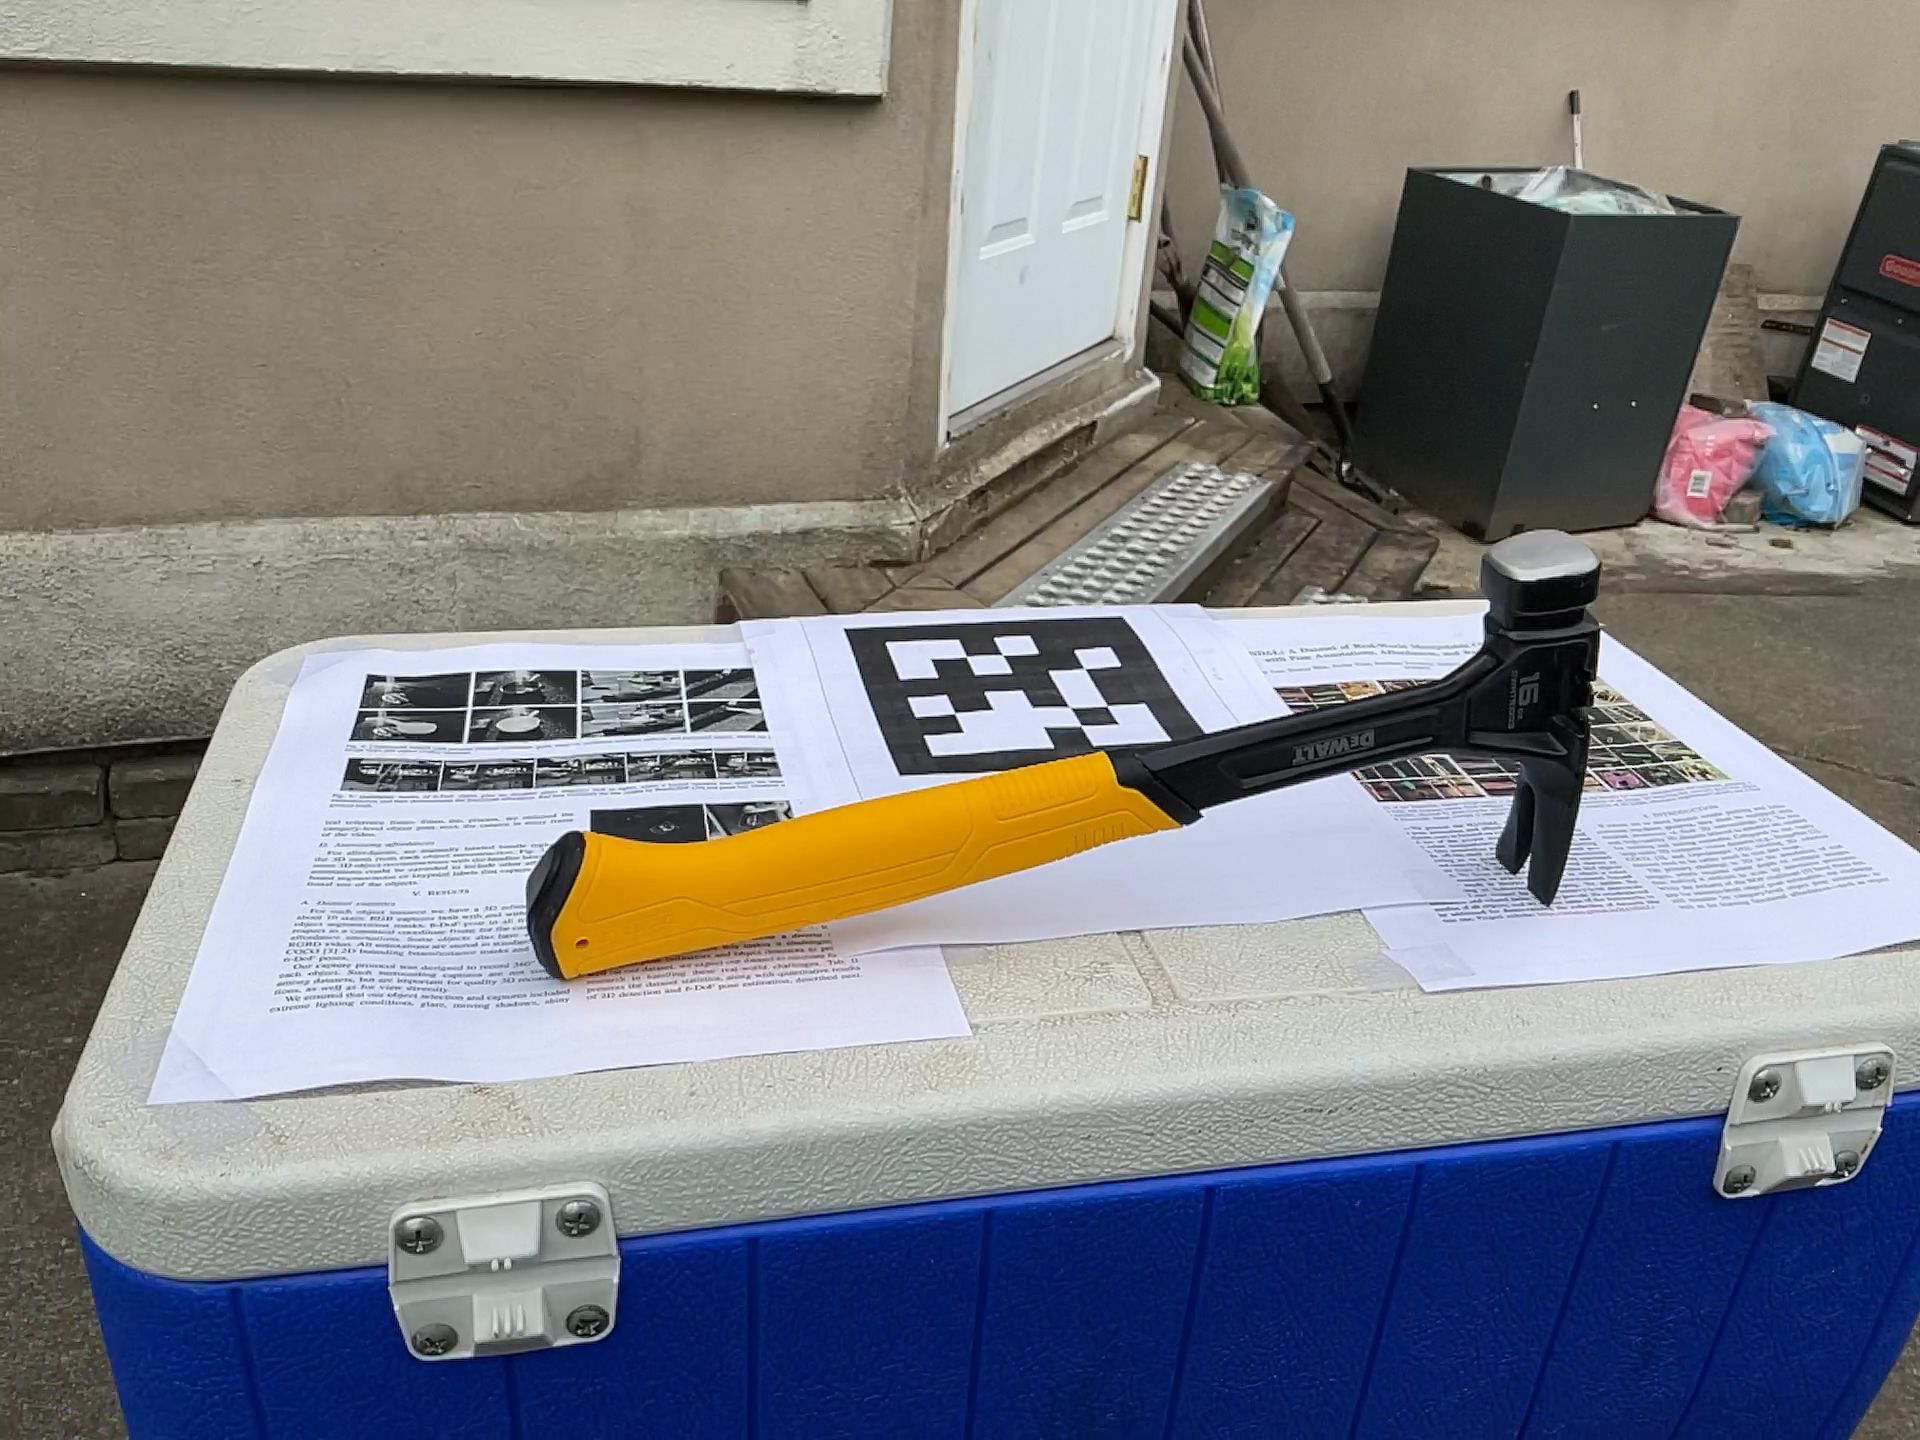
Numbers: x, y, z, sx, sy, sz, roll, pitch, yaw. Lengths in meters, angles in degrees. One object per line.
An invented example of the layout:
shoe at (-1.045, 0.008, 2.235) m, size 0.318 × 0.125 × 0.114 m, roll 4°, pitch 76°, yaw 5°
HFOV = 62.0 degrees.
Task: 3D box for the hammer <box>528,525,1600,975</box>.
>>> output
hammer at (0.038, 0.031, 0.498) m, size 0.336 × 0.127 × 0.034 m, roll -12°, pitch 29°, yaw -8°
